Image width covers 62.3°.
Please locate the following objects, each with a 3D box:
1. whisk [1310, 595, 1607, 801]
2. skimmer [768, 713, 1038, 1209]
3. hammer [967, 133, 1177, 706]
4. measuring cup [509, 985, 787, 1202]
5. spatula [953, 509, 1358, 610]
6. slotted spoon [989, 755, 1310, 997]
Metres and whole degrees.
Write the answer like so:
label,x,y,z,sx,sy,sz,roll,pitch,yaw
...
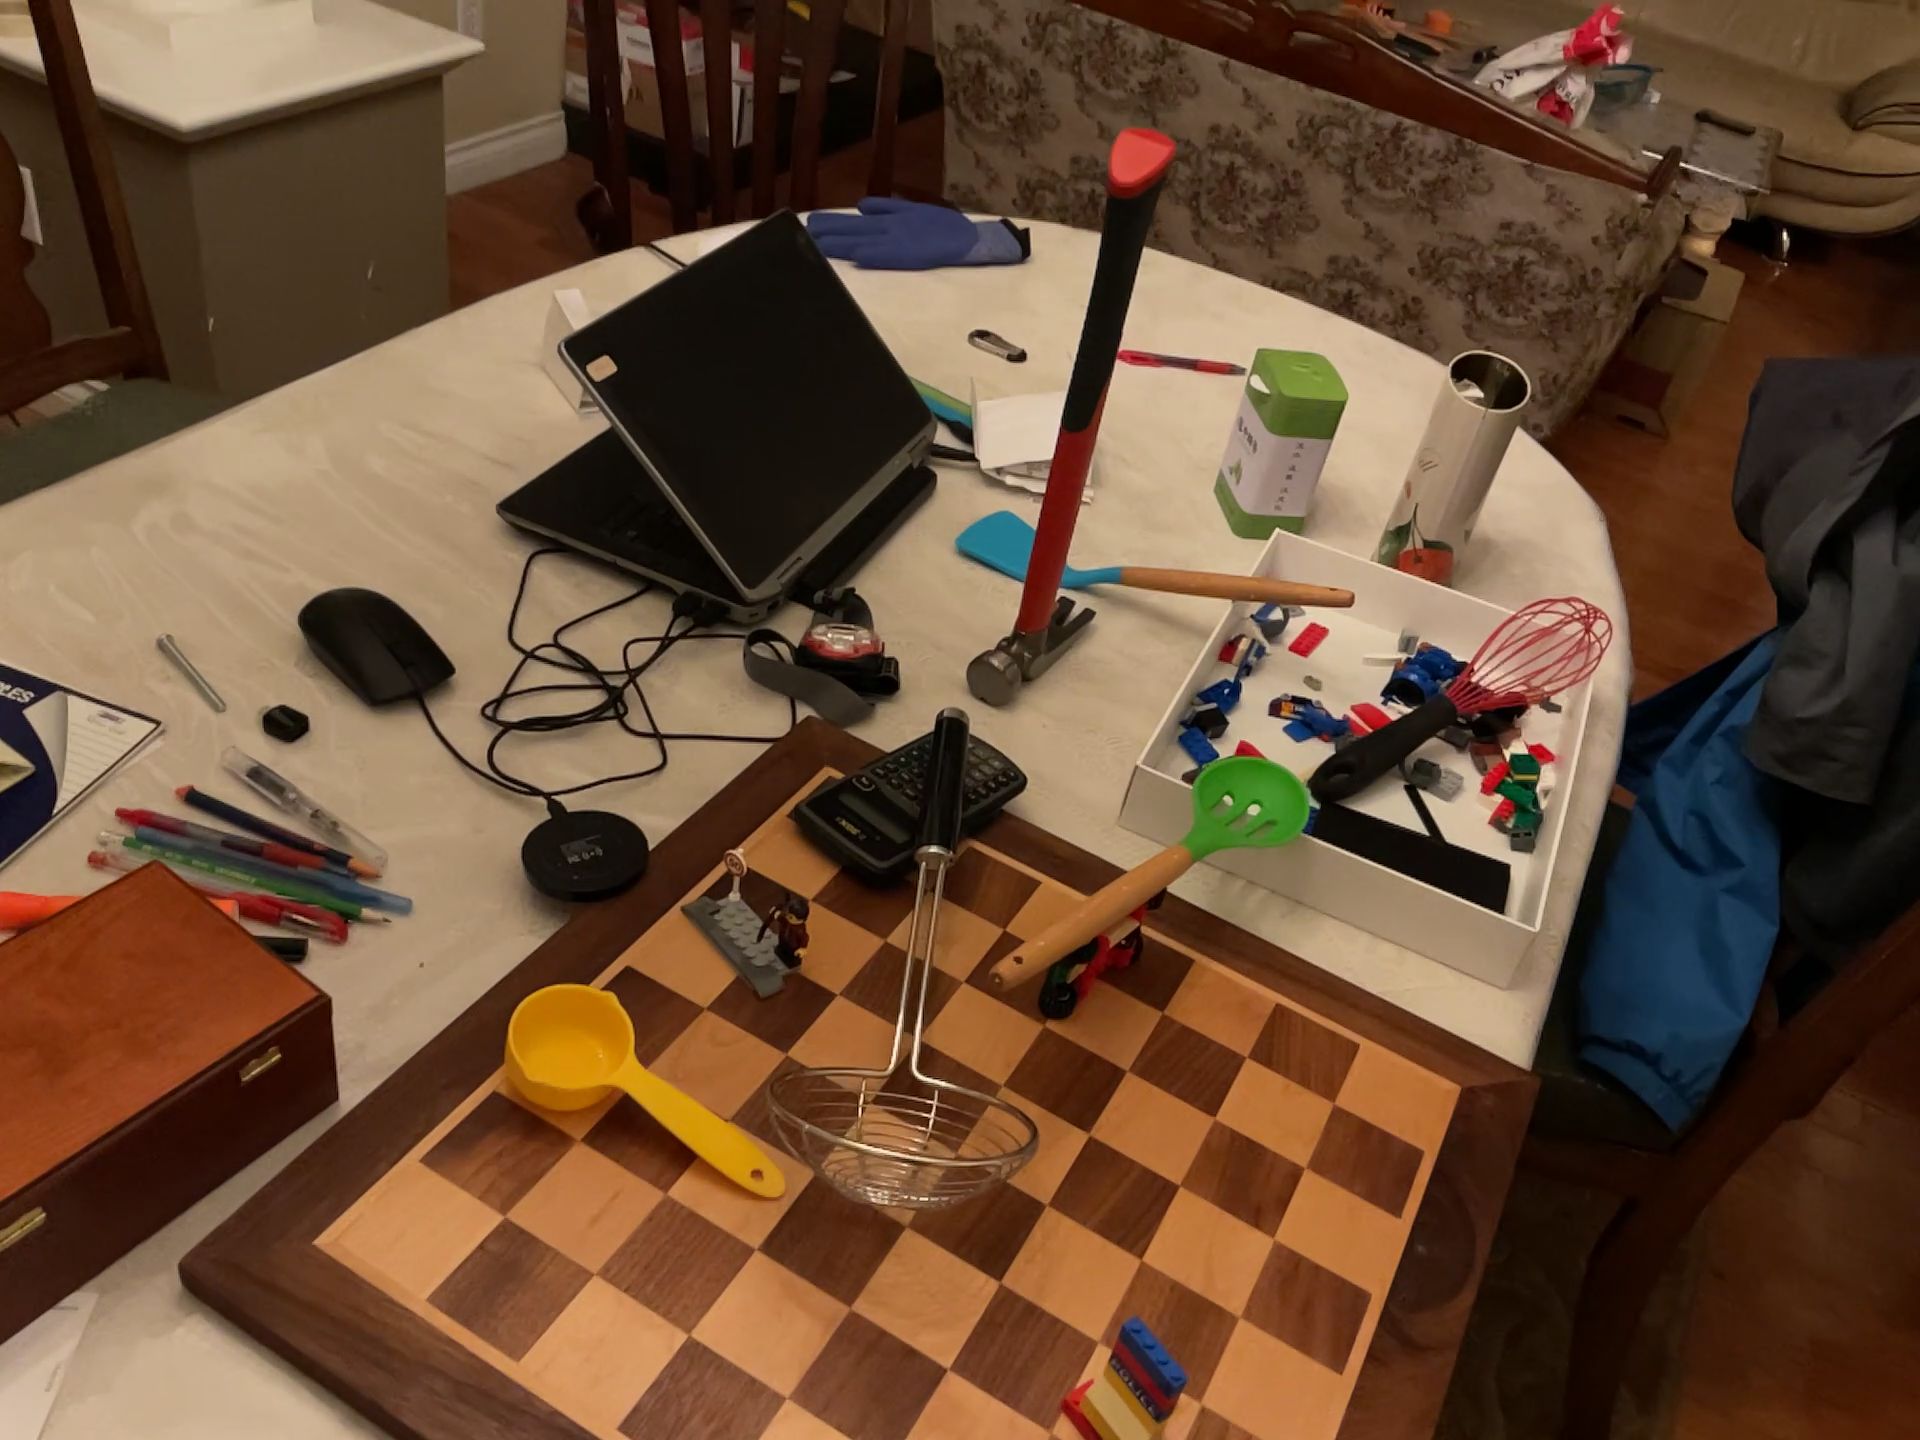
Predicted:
label,x,y,z,sx,sy,sz,roll,pitch,yaw
whisk,0.362,-0.015,1.145,0.295,0.073,0.073,-28,33,-23
skimmer,-0.015,0.100,0.842,0.127,0.090,0.363,9,42,-1
hammer,0.085,-0.193,1.049,0.038,0.386,0.143,27,40,18
measuring cup,-0.150,0.187,0.764,0.156,0.029,0.062,35,38,8
spatula,0.146,-0.116,1.204,0.318,0.044,0.082,10,31,32
slotted spoon,0.108,0.084,0.876,0.070,0.031,0.313,34,34,23
